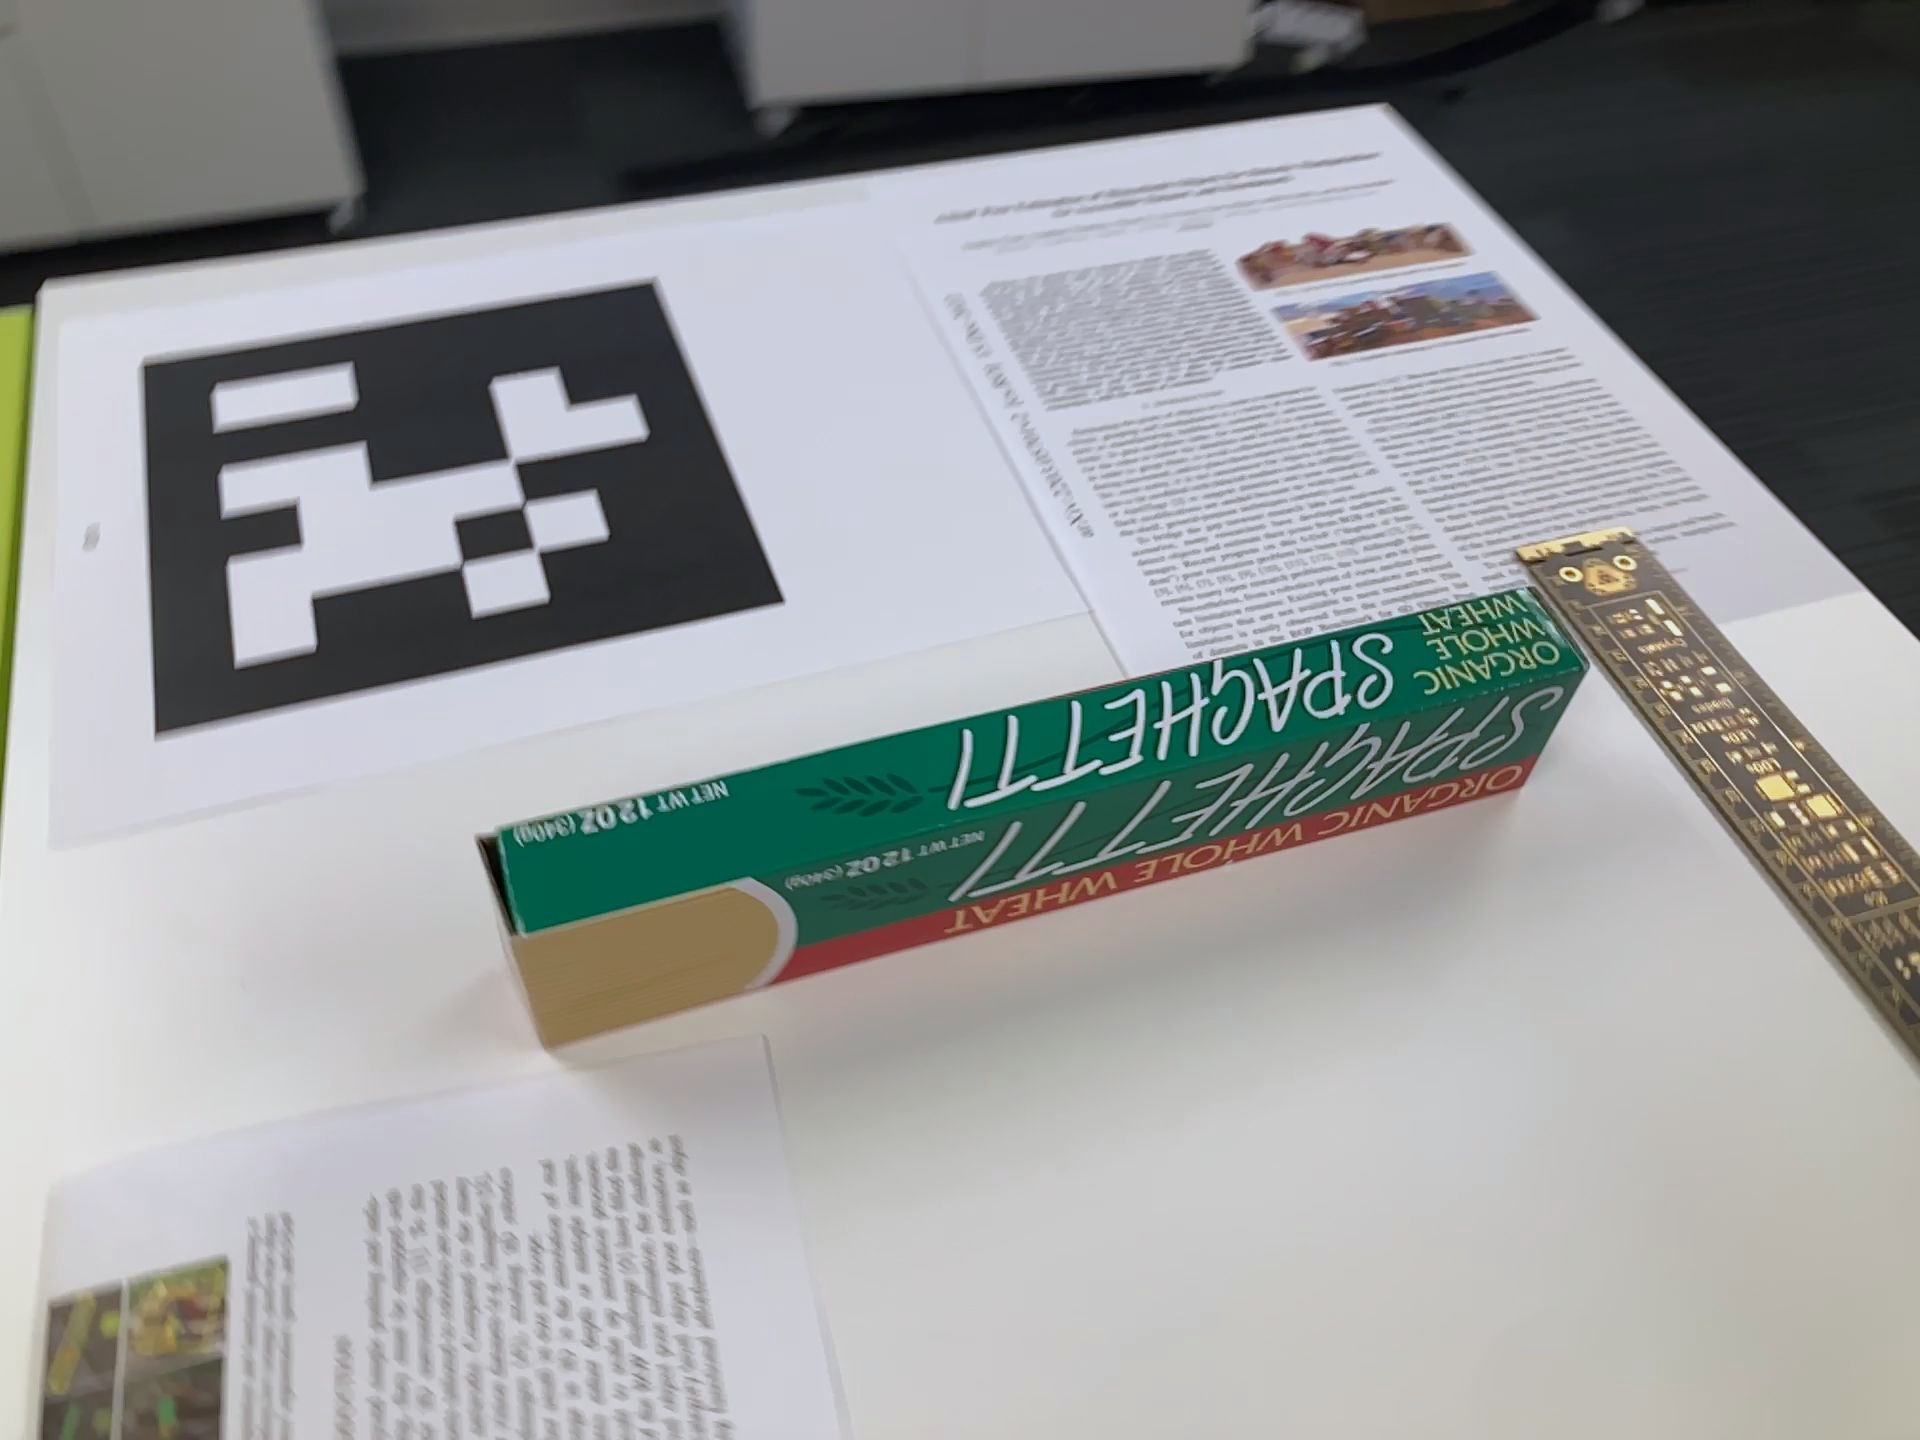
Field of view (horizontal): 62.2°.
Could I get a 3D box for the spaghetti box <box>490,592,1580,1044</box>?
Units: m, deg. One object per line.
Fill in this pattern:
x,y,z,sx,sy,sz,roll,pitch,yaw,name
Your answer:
0.024,0.019,0.364,0.250,0.050,0.028,-13,55,-15,spaghetti box
